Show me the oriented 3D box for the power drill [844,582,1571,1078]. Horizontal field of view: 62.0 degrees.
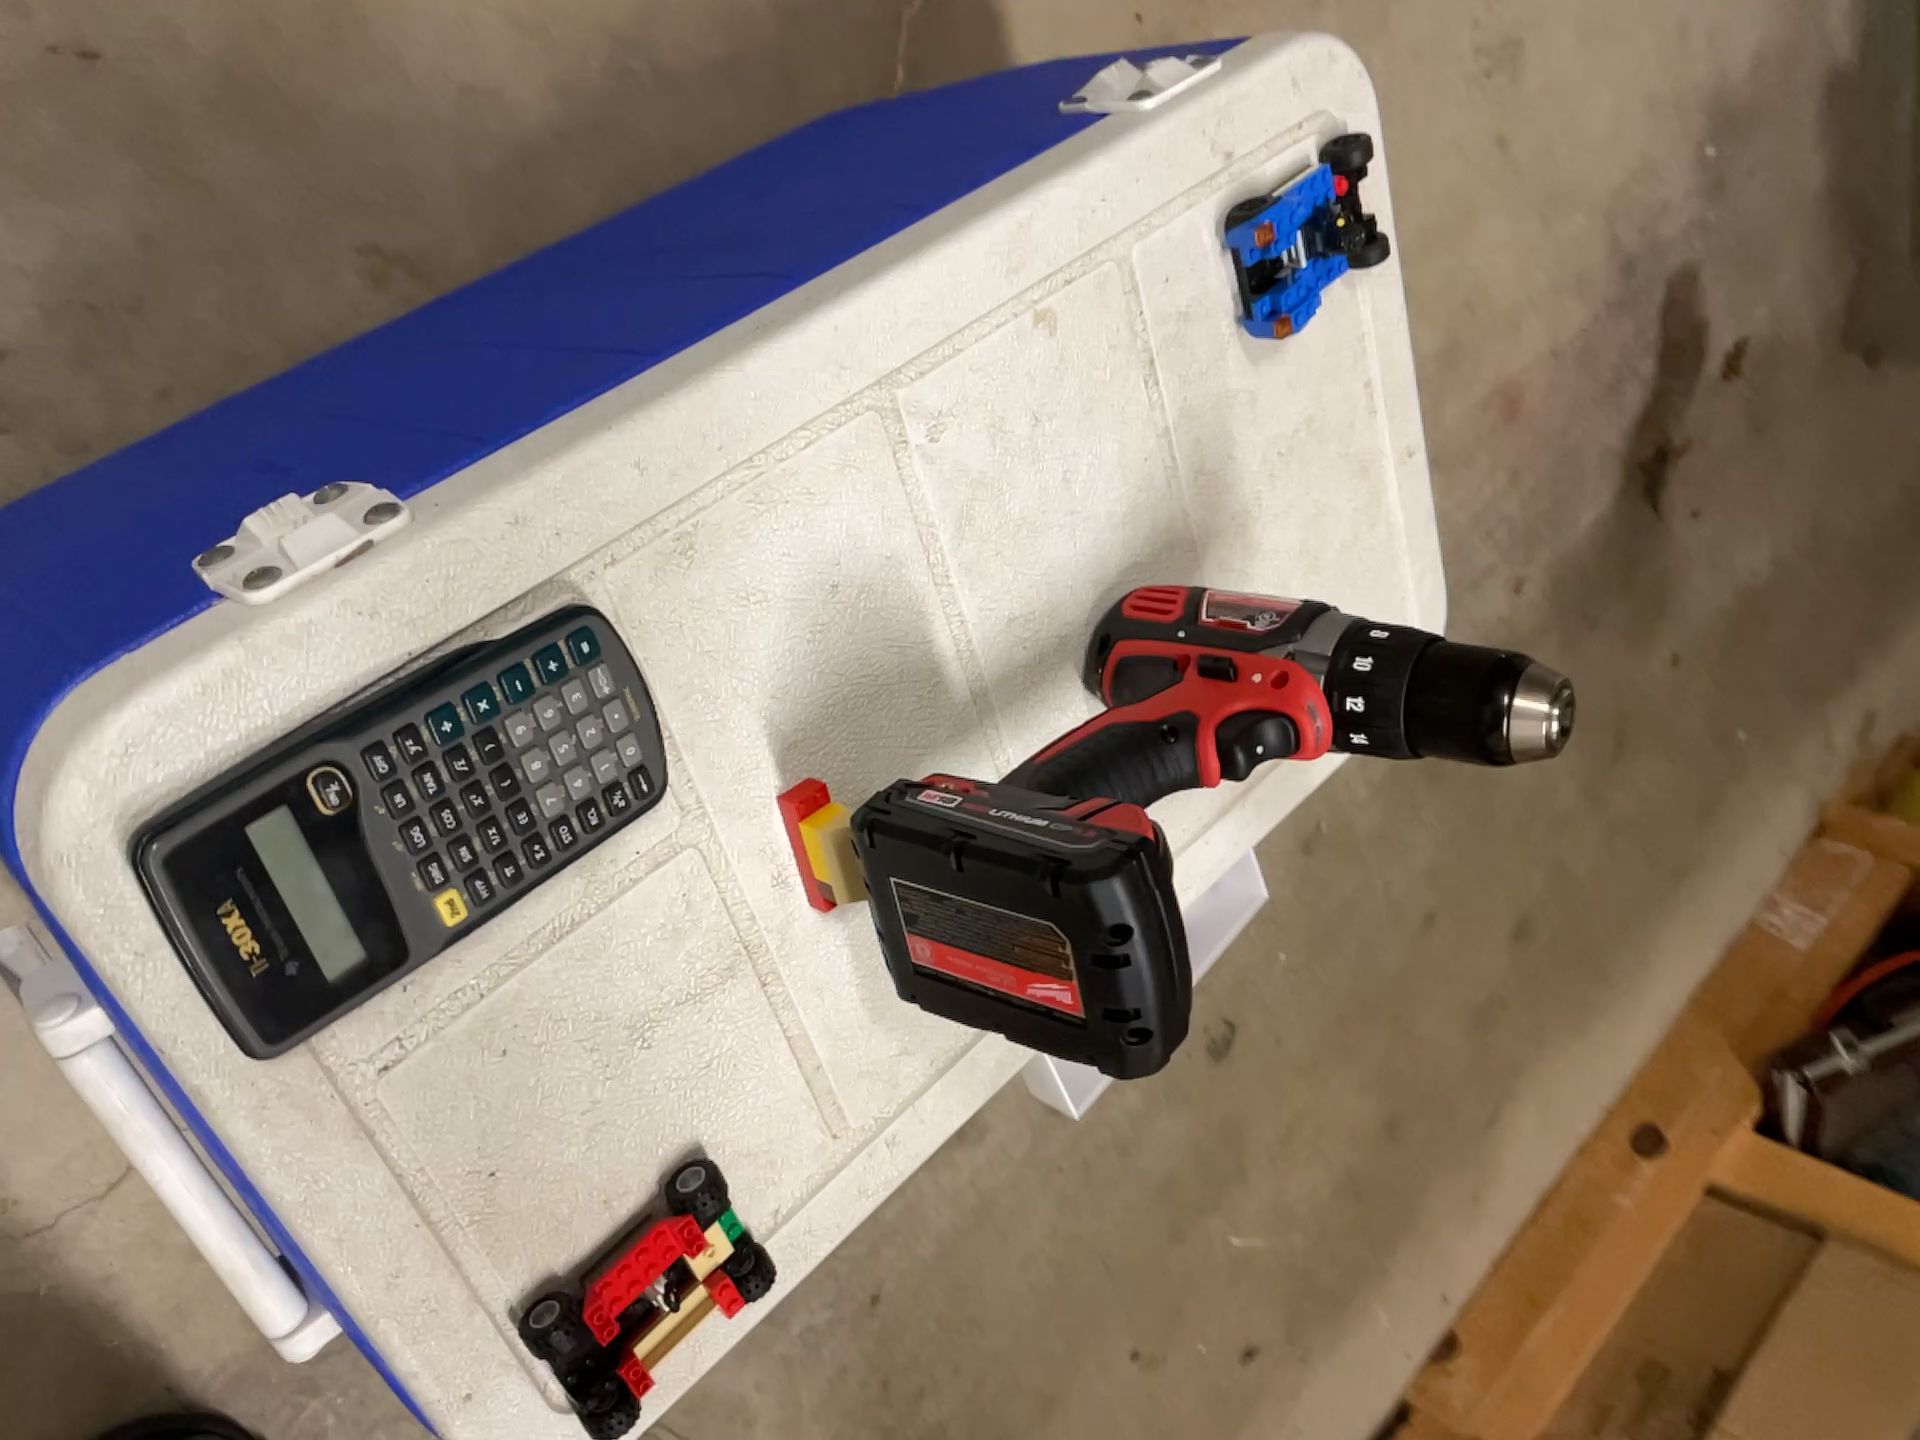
[{"bbox_3d":[0.091,0.023,0.567,0.227,0.188,0.080,-39,128,-40],"label":"power drill"}]
